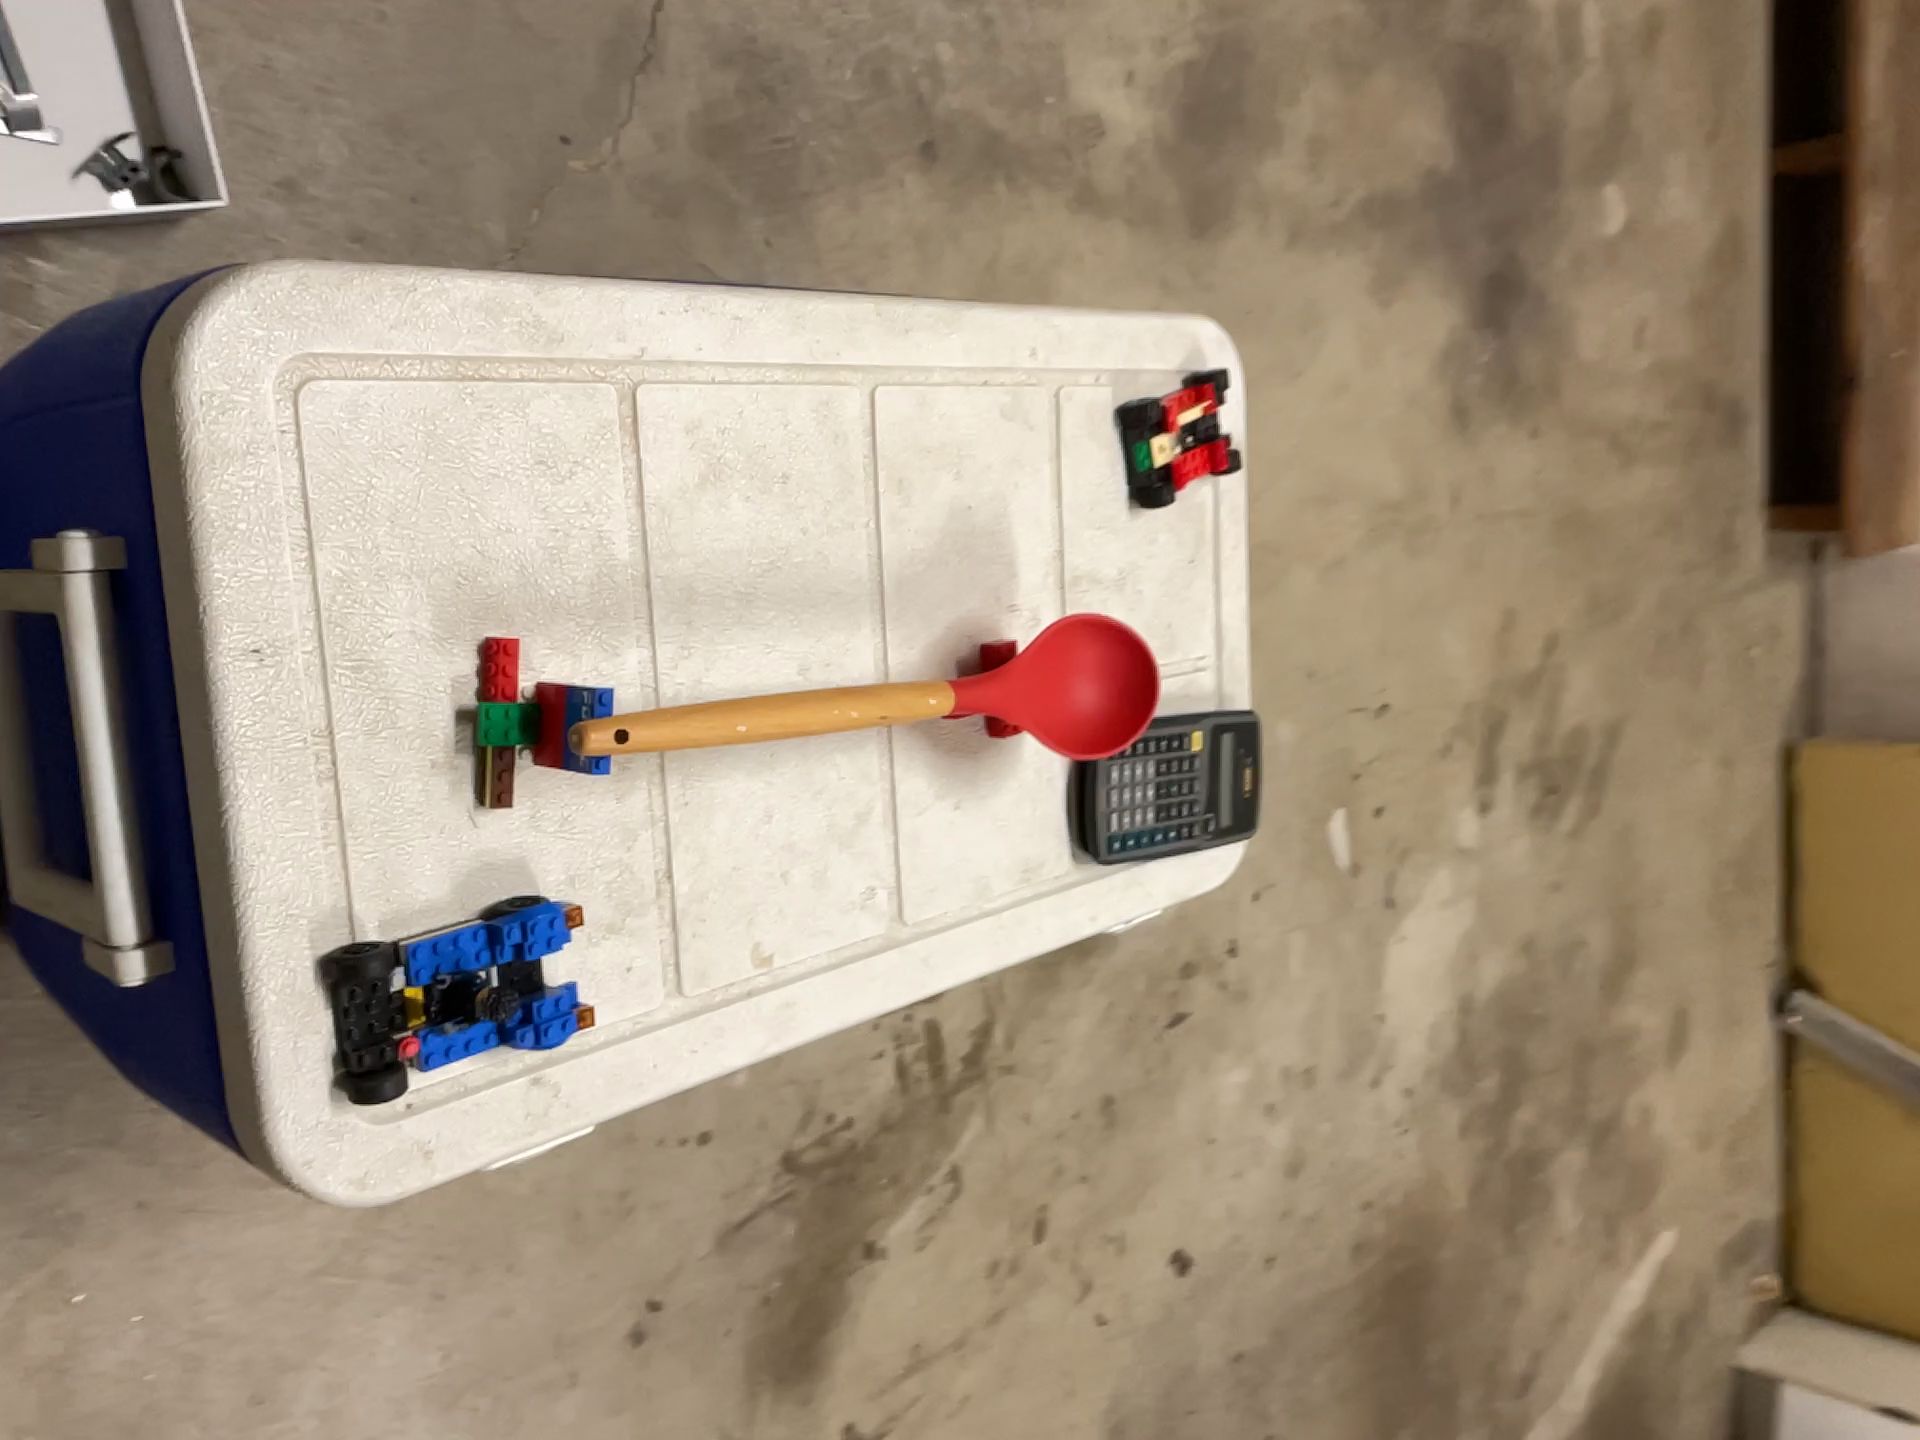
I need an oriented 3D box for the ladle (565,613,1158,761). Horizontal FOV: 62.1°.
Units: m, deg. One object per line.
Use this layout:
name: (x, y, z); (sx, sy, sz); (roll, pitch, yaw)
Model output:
ladle: (-0.026, -0.006, 0.671); (0.315, 0.031, 0.069); (-7, 94, -45)
